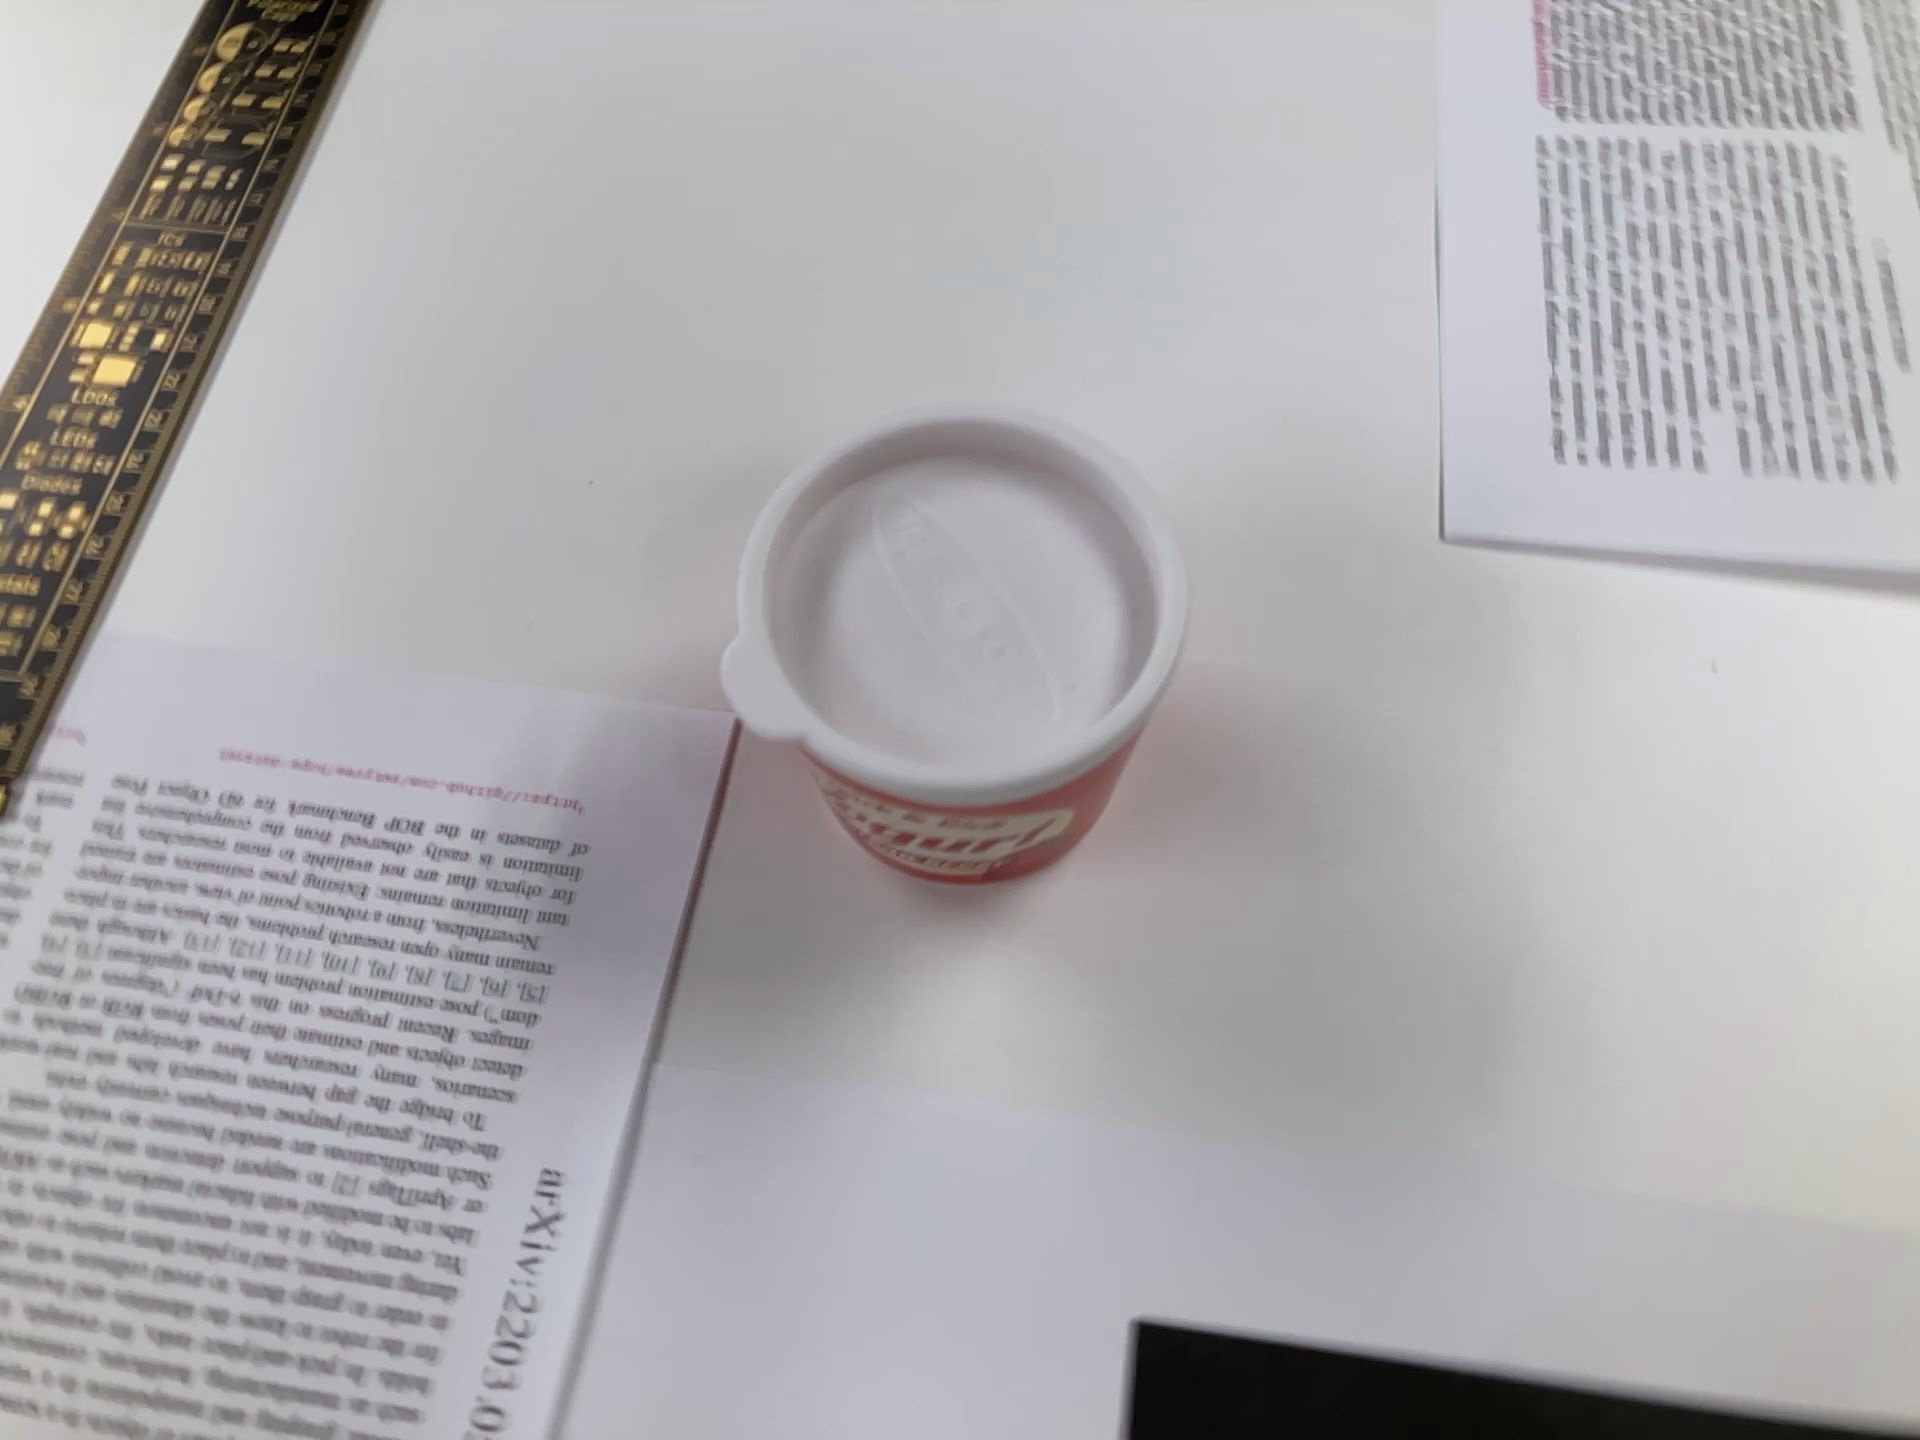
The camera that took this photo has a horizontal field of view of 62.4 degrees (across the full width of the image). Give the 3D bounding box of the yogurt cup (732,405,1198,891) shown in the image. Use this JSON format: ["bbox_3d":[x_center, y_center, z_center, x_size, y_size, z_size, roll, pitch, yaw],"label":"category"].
[{"bbox_3d":[0.001,-0.008,0.253,0.072,0.054,0.072,0,62,0],"label":"yogurt cup"}]
